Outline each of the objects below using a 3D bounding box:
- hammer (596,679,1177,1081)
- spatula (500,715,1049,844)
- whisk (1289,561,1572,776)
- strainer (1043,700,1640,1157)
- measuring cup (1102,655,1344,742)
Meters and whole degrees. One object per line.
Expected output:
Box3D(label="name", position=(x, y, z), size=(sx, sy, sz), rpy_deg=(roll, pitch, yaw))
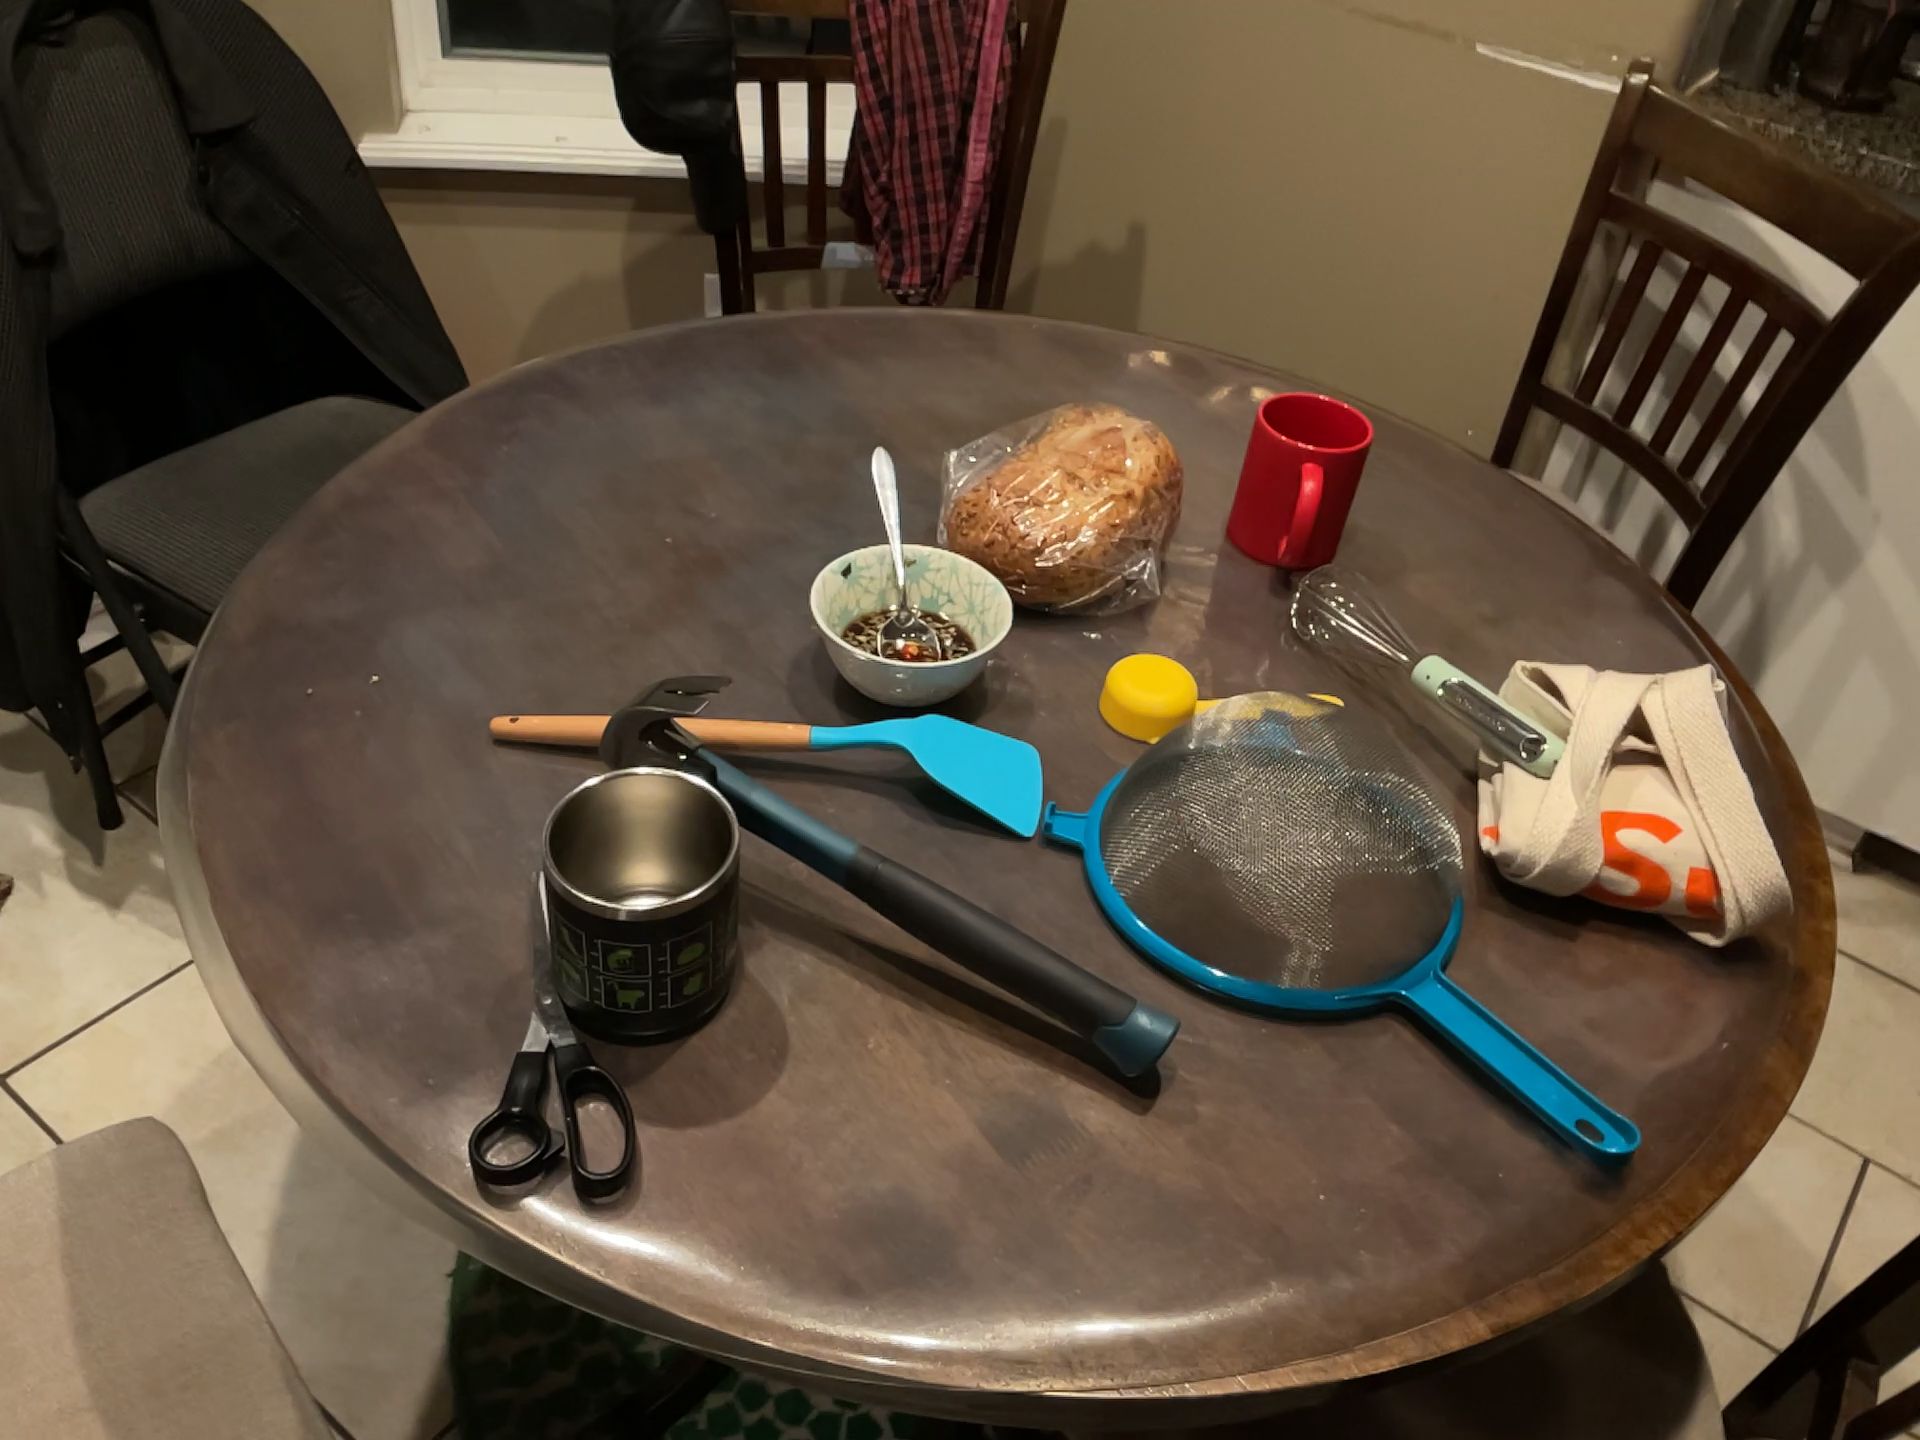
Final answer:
Box3D(label="hammer", position=(-0.043, 0.084, 0.807), size=(0.331, 0.128, 0.033), rpy_deg=(29, 47, 12))
Box3D(label="spatula", position=(-0.106, 0.020, 0.924), size=(0.317, 0.044, 0.082), rpy_deg=(3, 41, 2))
Box3D(label="whisk", position=(0.288, -0.035, 1.002), size=(0.059, 0.057, 0.246), rpy_deg=(18, 19, -38))
Box3D(label="strainer", position=(0.215, 0.085, 0.836), size=(0.211, 0.095, 0.340), rpy_deg=(-22, 44, -30))
Box3D(label="measuring cup", position=(0.167, -0.018, 1.000), size=(0.156, 0.029, 0.062), rpy_deg=(-1, 41, -7))
